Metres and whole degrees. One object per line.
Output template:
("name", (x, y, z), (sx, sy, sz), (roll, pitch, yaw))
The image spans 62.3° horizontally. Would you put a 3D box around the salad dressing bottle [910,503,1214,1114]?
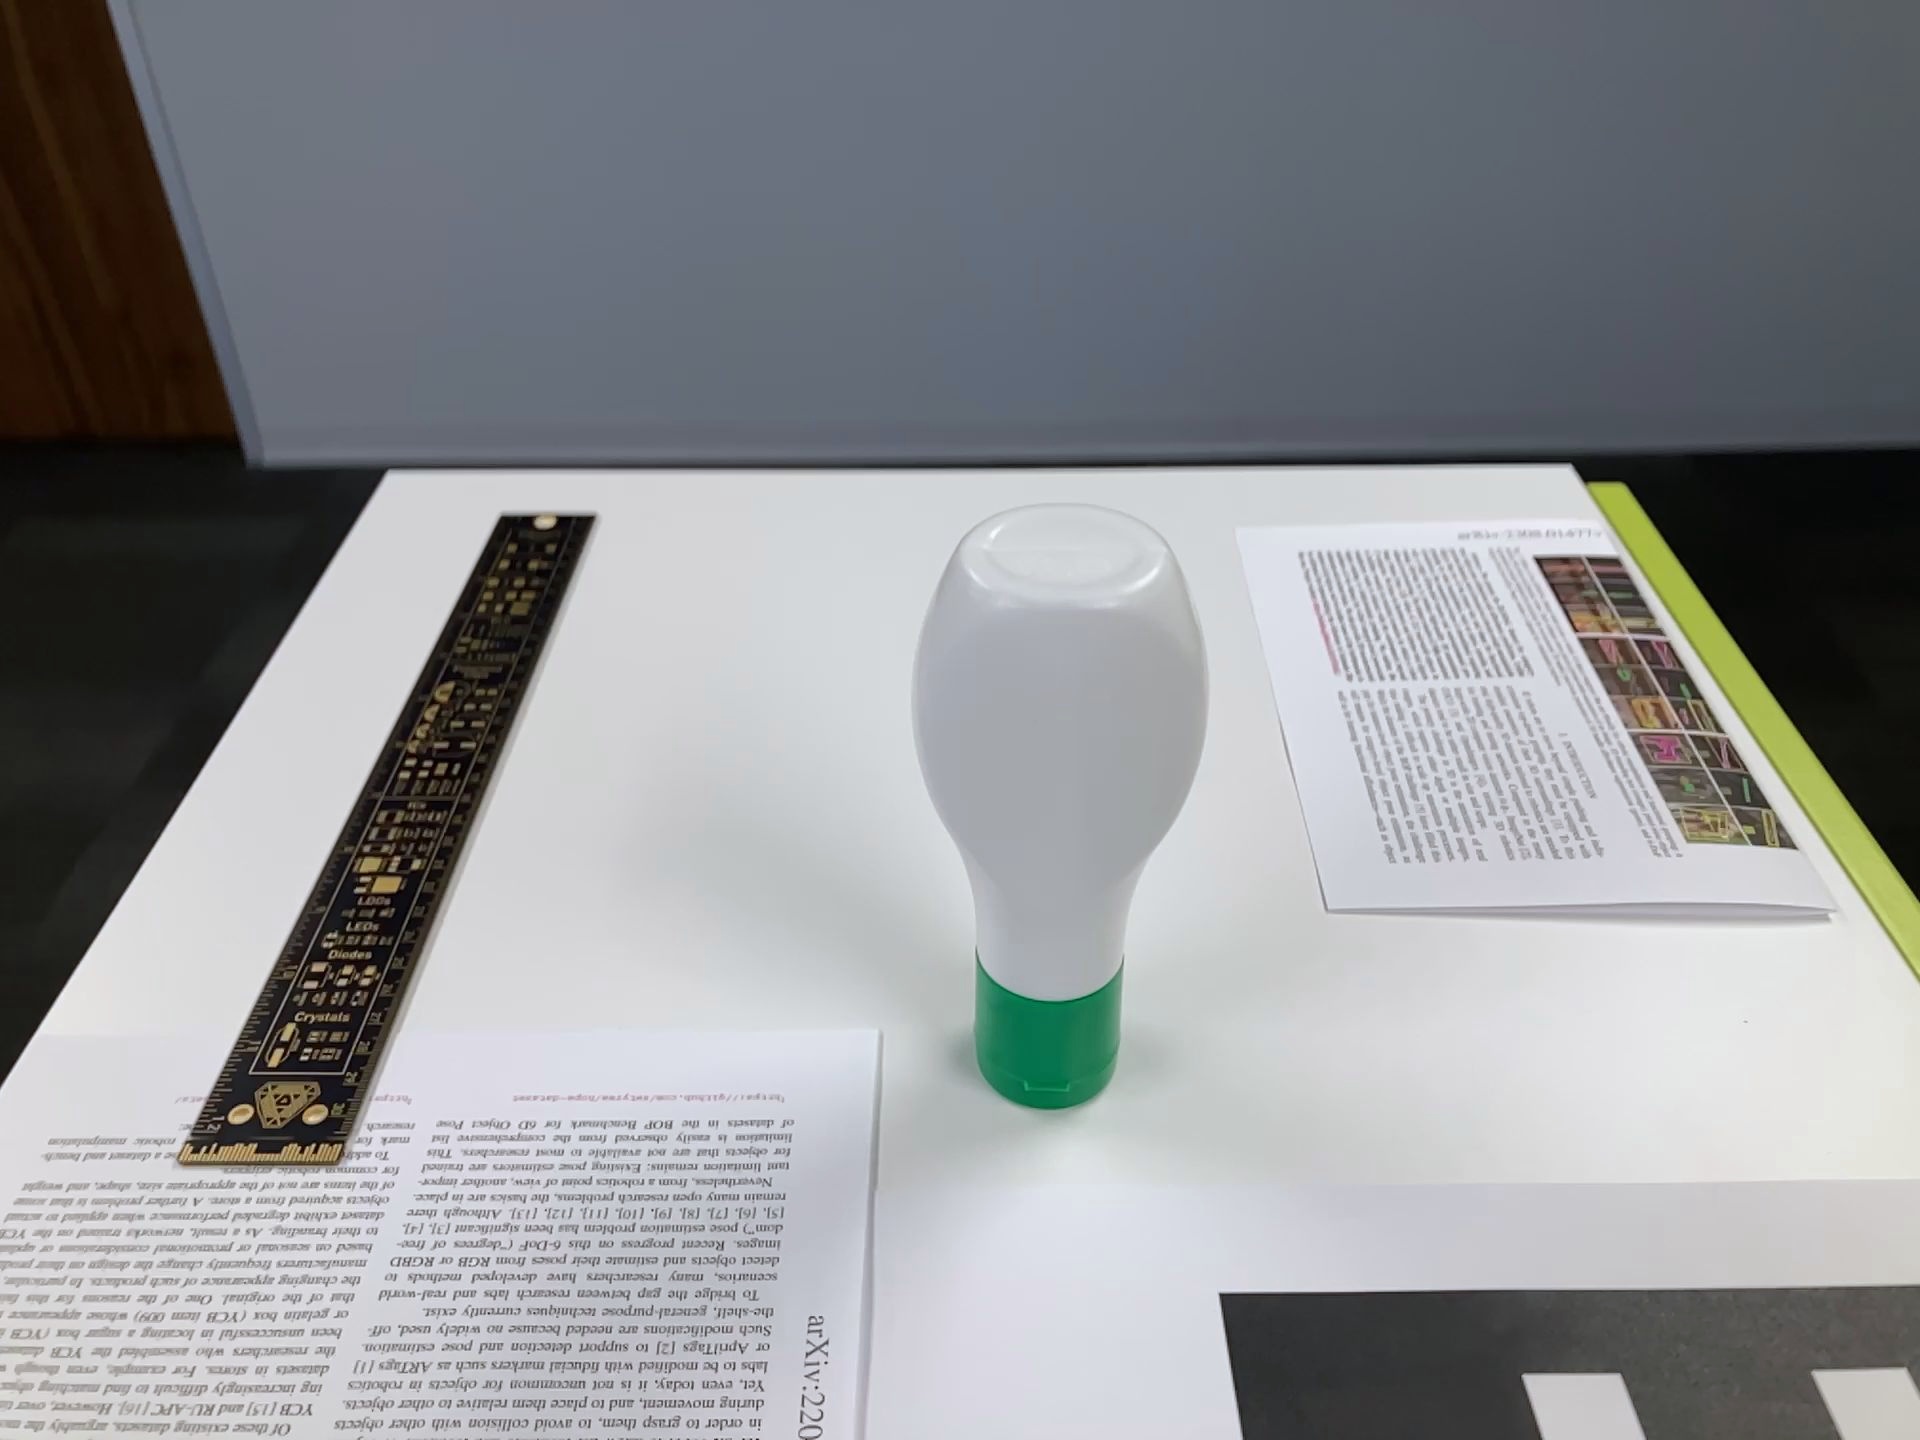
("salad dressing bottle", (0.022, 0.026, 0.359), (0.064, 0.147, 0.044), (1, 35, 2))
